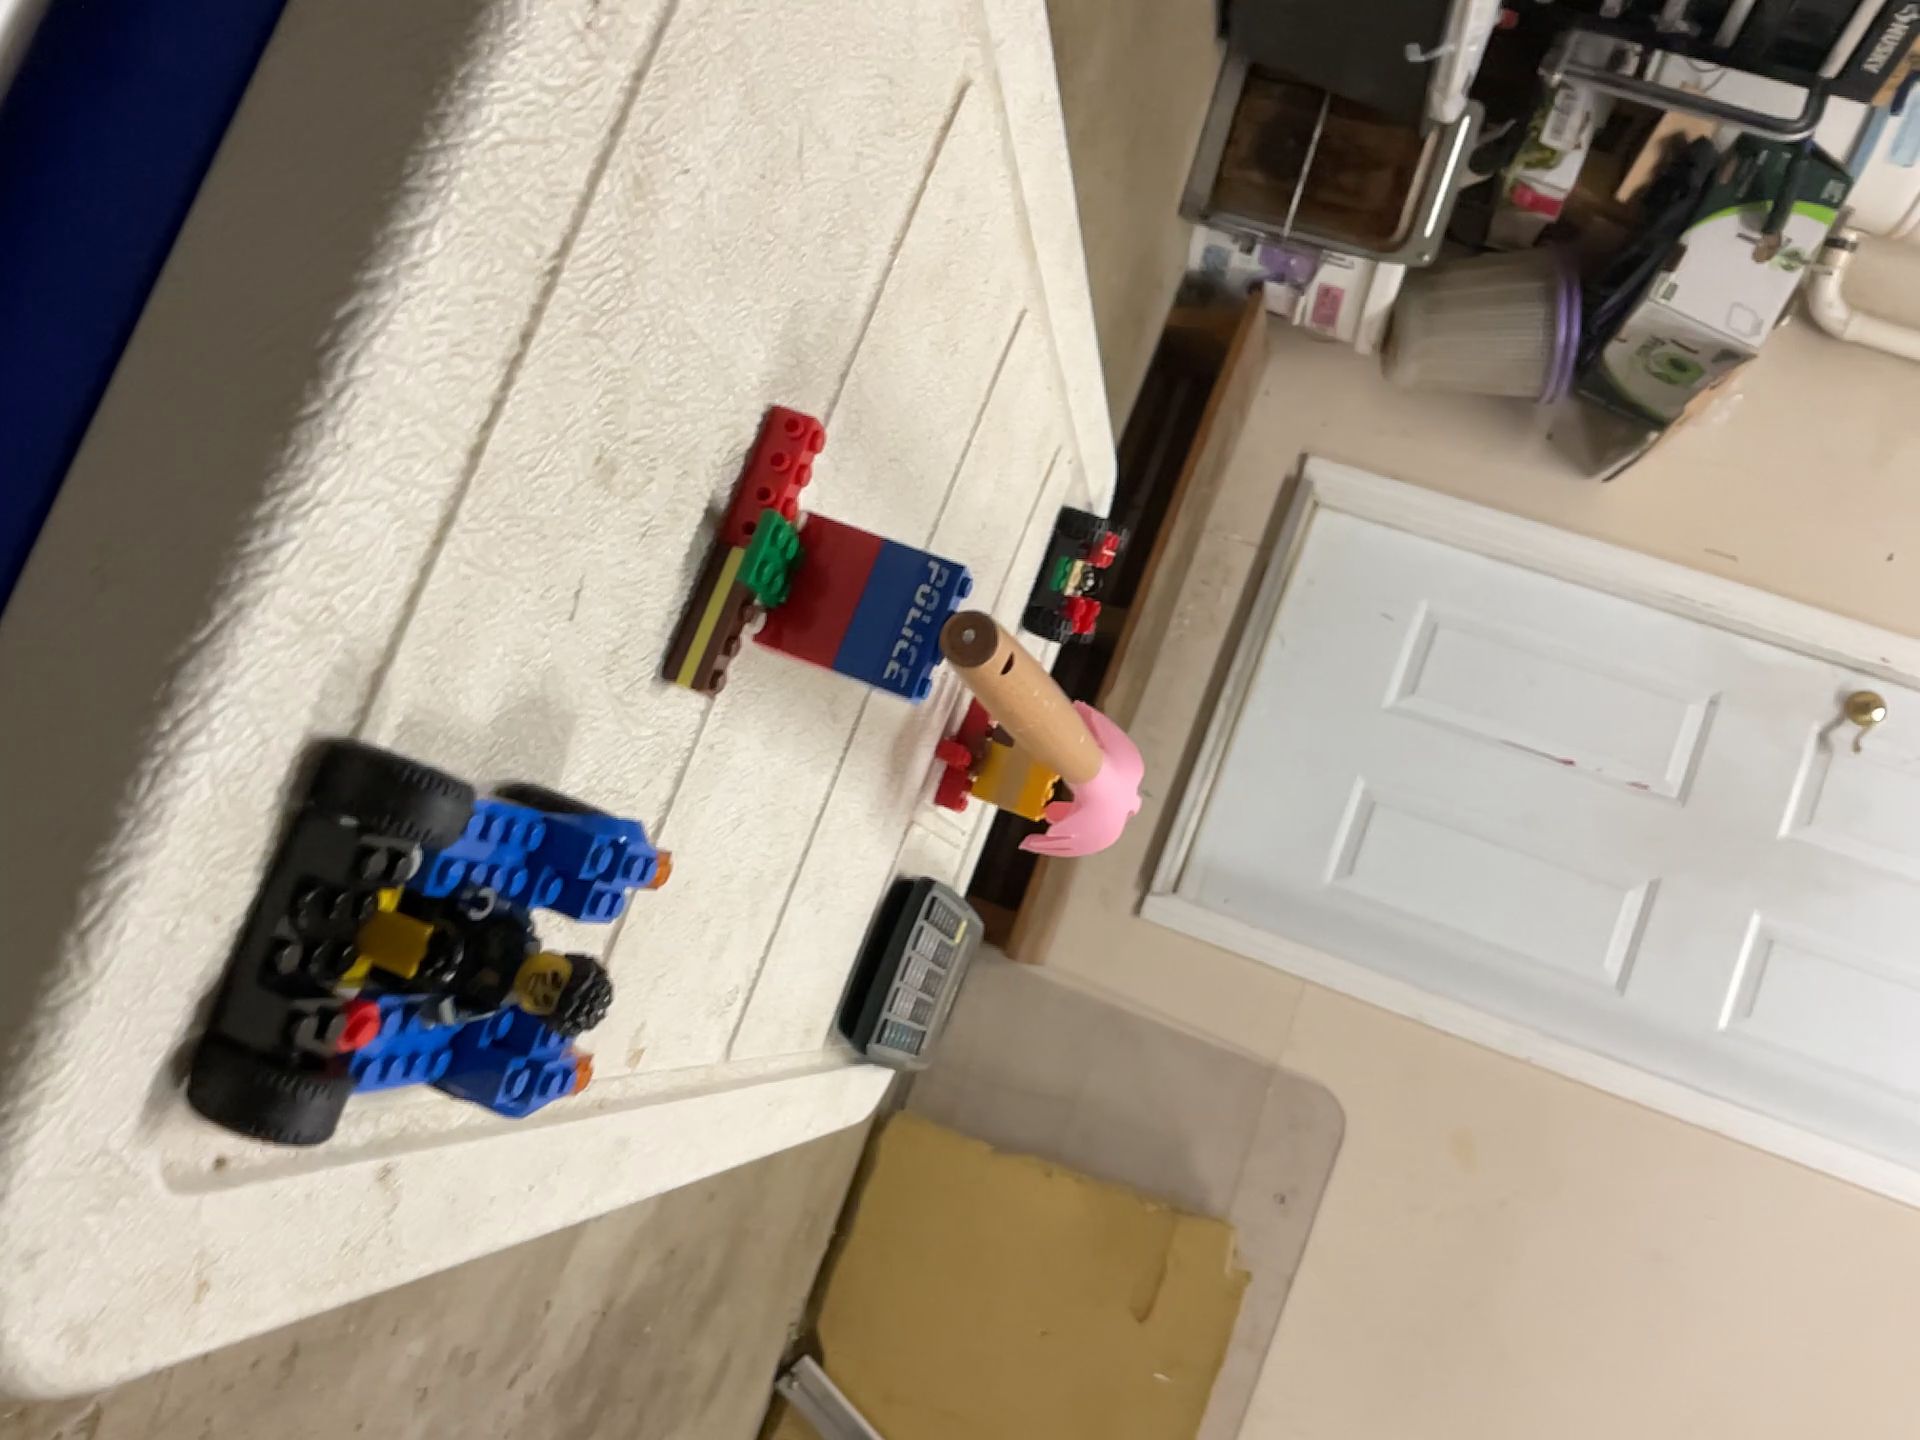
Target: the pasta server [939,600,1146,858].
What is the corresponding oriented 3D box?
[{"bbox_3d":[0.026,0.006,0.487,0.316,0.040,0.060,41,71,-75],"label":"pasta server"}]
